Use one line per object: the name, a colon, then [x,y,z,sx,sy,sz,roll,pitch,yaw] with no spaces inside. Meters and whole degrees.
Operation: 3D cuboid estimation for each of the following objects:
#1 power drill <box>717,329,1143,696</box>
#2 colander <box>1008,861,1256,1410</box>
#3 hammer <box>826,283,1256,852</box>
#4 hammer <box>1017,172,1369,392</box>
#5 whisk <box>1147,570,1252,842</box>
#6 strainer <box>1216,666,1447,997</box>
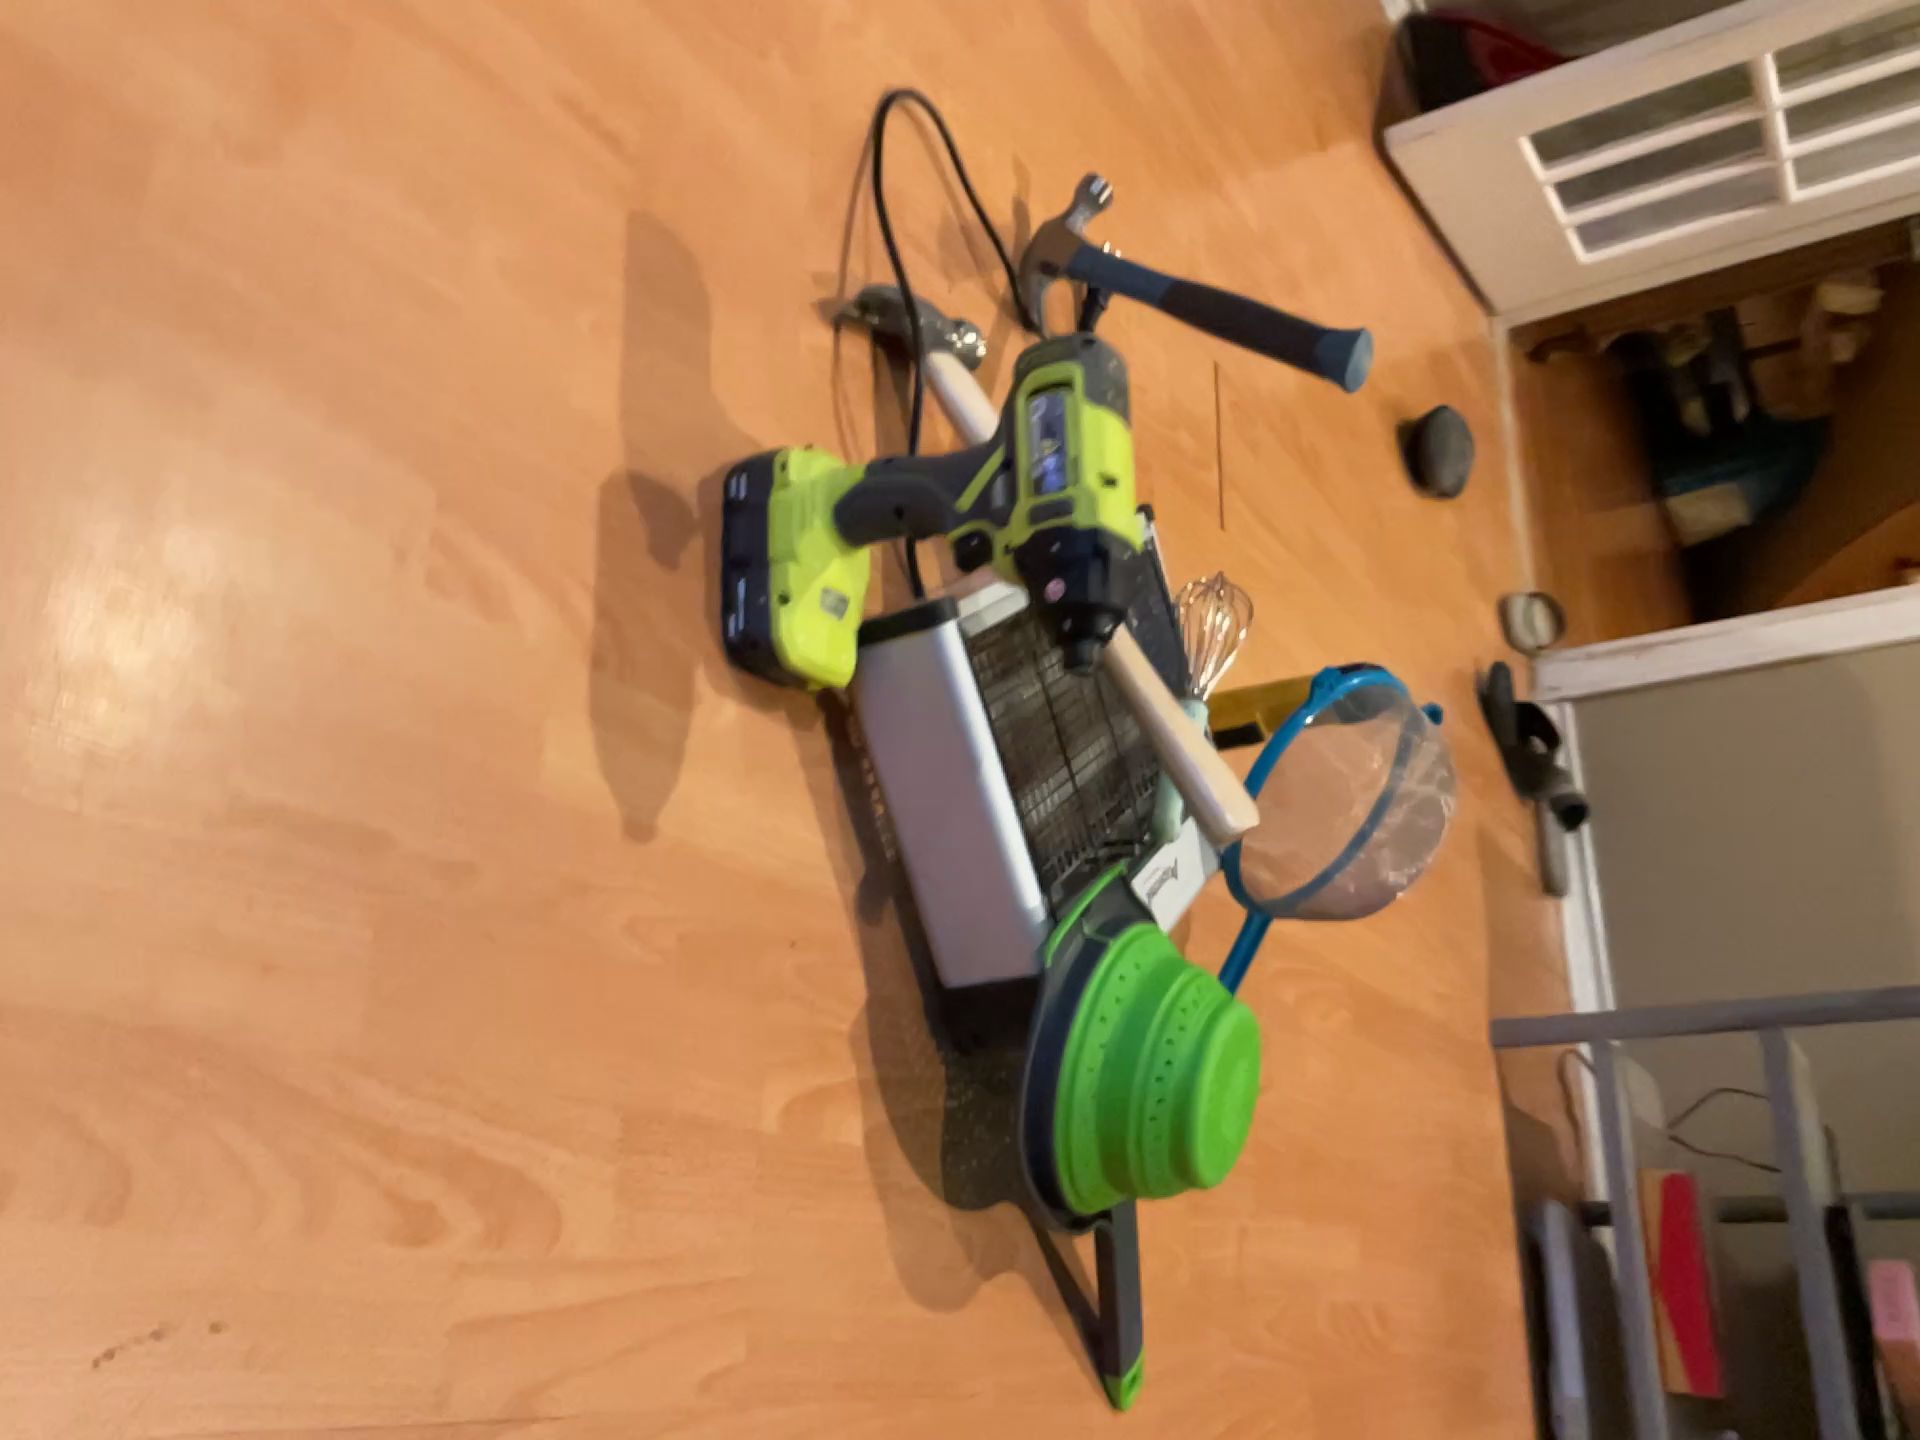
power drill: [-0.015,-0.091,0.832,0.080,0.223,0.171,24,60,-55]
colander: [0.123,0.283,0.985,0.205,0.094,0.396,-41,132,-50]
hammer: [0.056,-0.099,0.996,0.410,0.038,0.146,59,24,15]
hammer: [0.163,-0.308,1.168,0.128,0.331,0.033,-53,139,-2]
whisk: [0.166,-0.014,1.144,0.057,0.059,0.246,91,14,-52]
strainer: [0.275,0.132,1.219,0.211,0.095,0.340,12,105,-48]
